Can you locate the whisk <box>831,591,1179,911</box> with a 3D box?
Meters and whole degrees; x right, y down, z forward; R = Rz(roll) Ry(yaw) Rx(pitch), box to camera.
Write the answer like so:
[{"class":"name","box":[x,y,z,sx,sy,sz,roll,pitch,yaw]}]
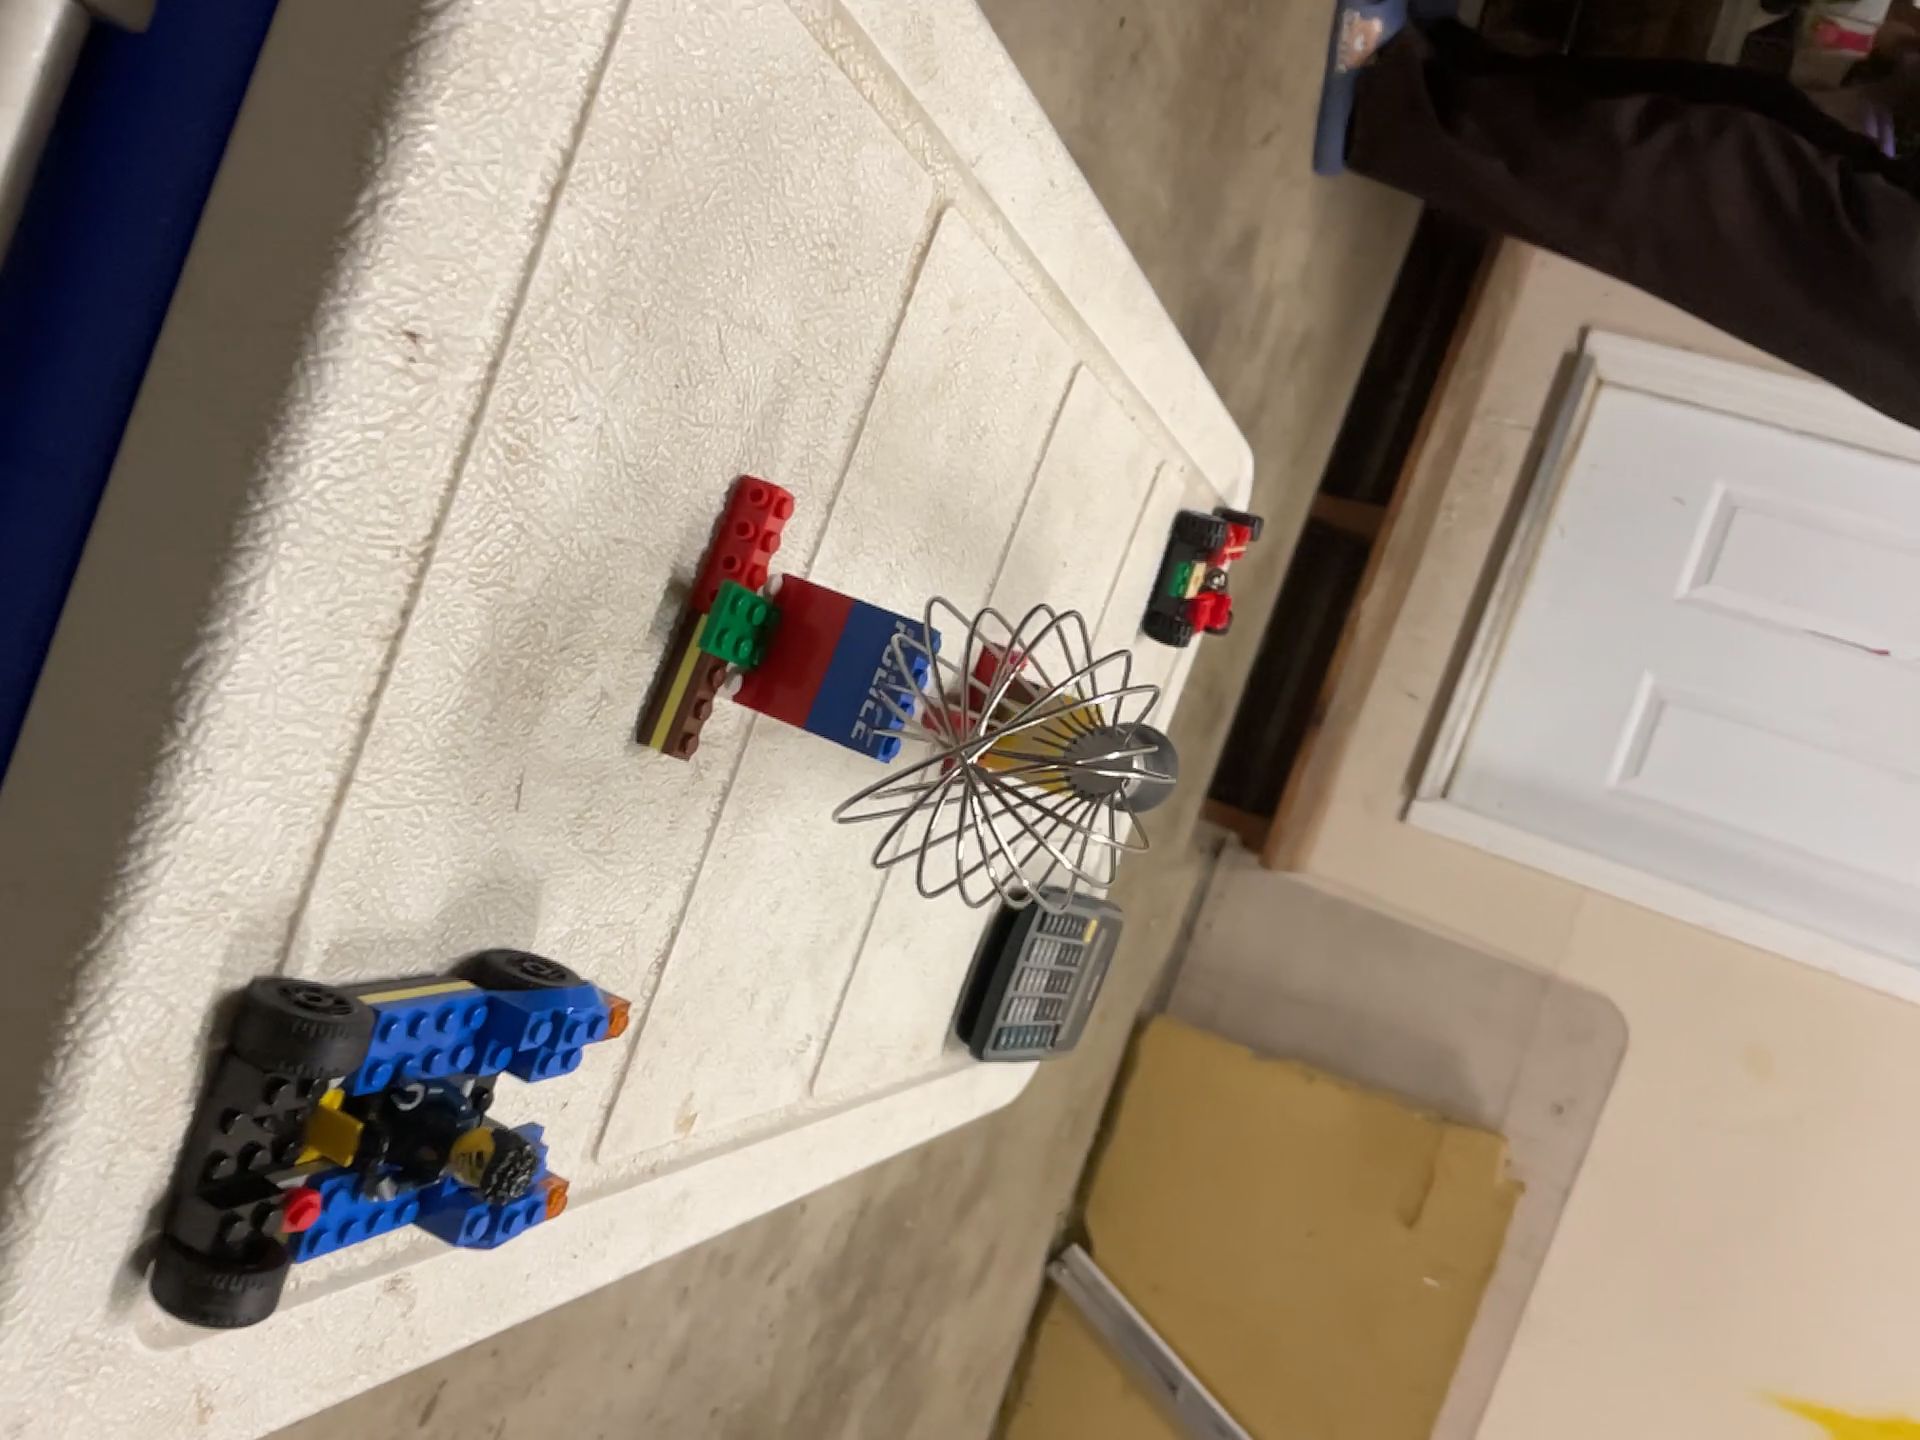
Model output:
[{"class":"whisk","box":[0.033,0.011,0.420,0.284,0.070,0.070,9,97,-76]}]
